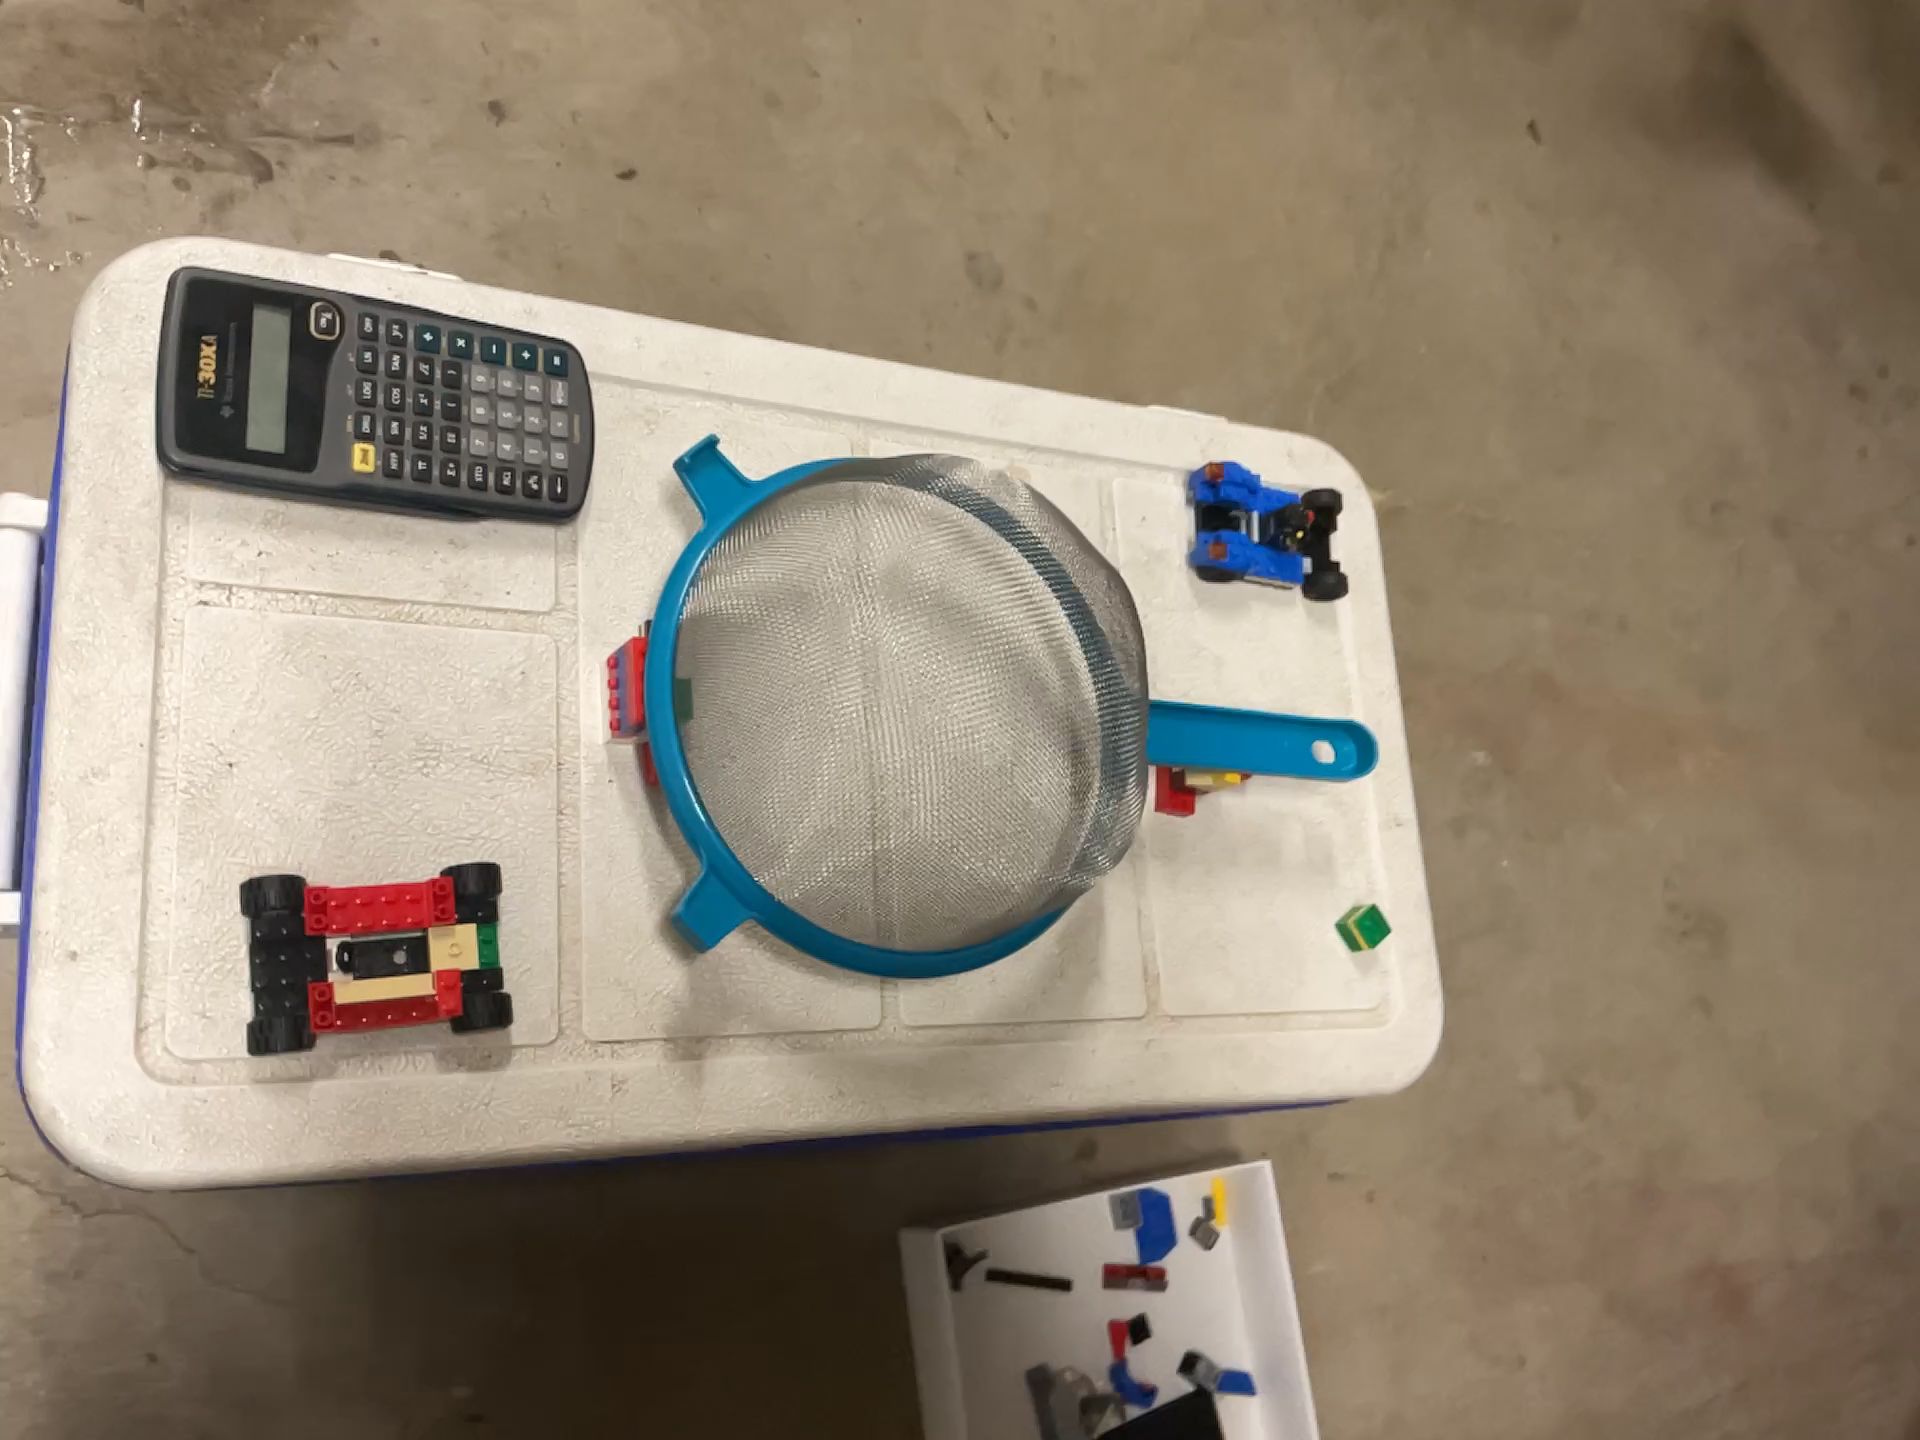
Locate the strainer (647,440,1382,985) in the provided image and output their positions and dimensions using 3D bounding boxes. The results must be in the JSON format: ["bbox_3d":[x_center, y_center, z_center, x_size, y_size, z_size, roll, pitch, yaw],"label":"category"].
[{"bbox_3d":[0.055,-0.006,0.624,0.340,0.095,0.211,5,74,-27],"label":"strainer"}]
